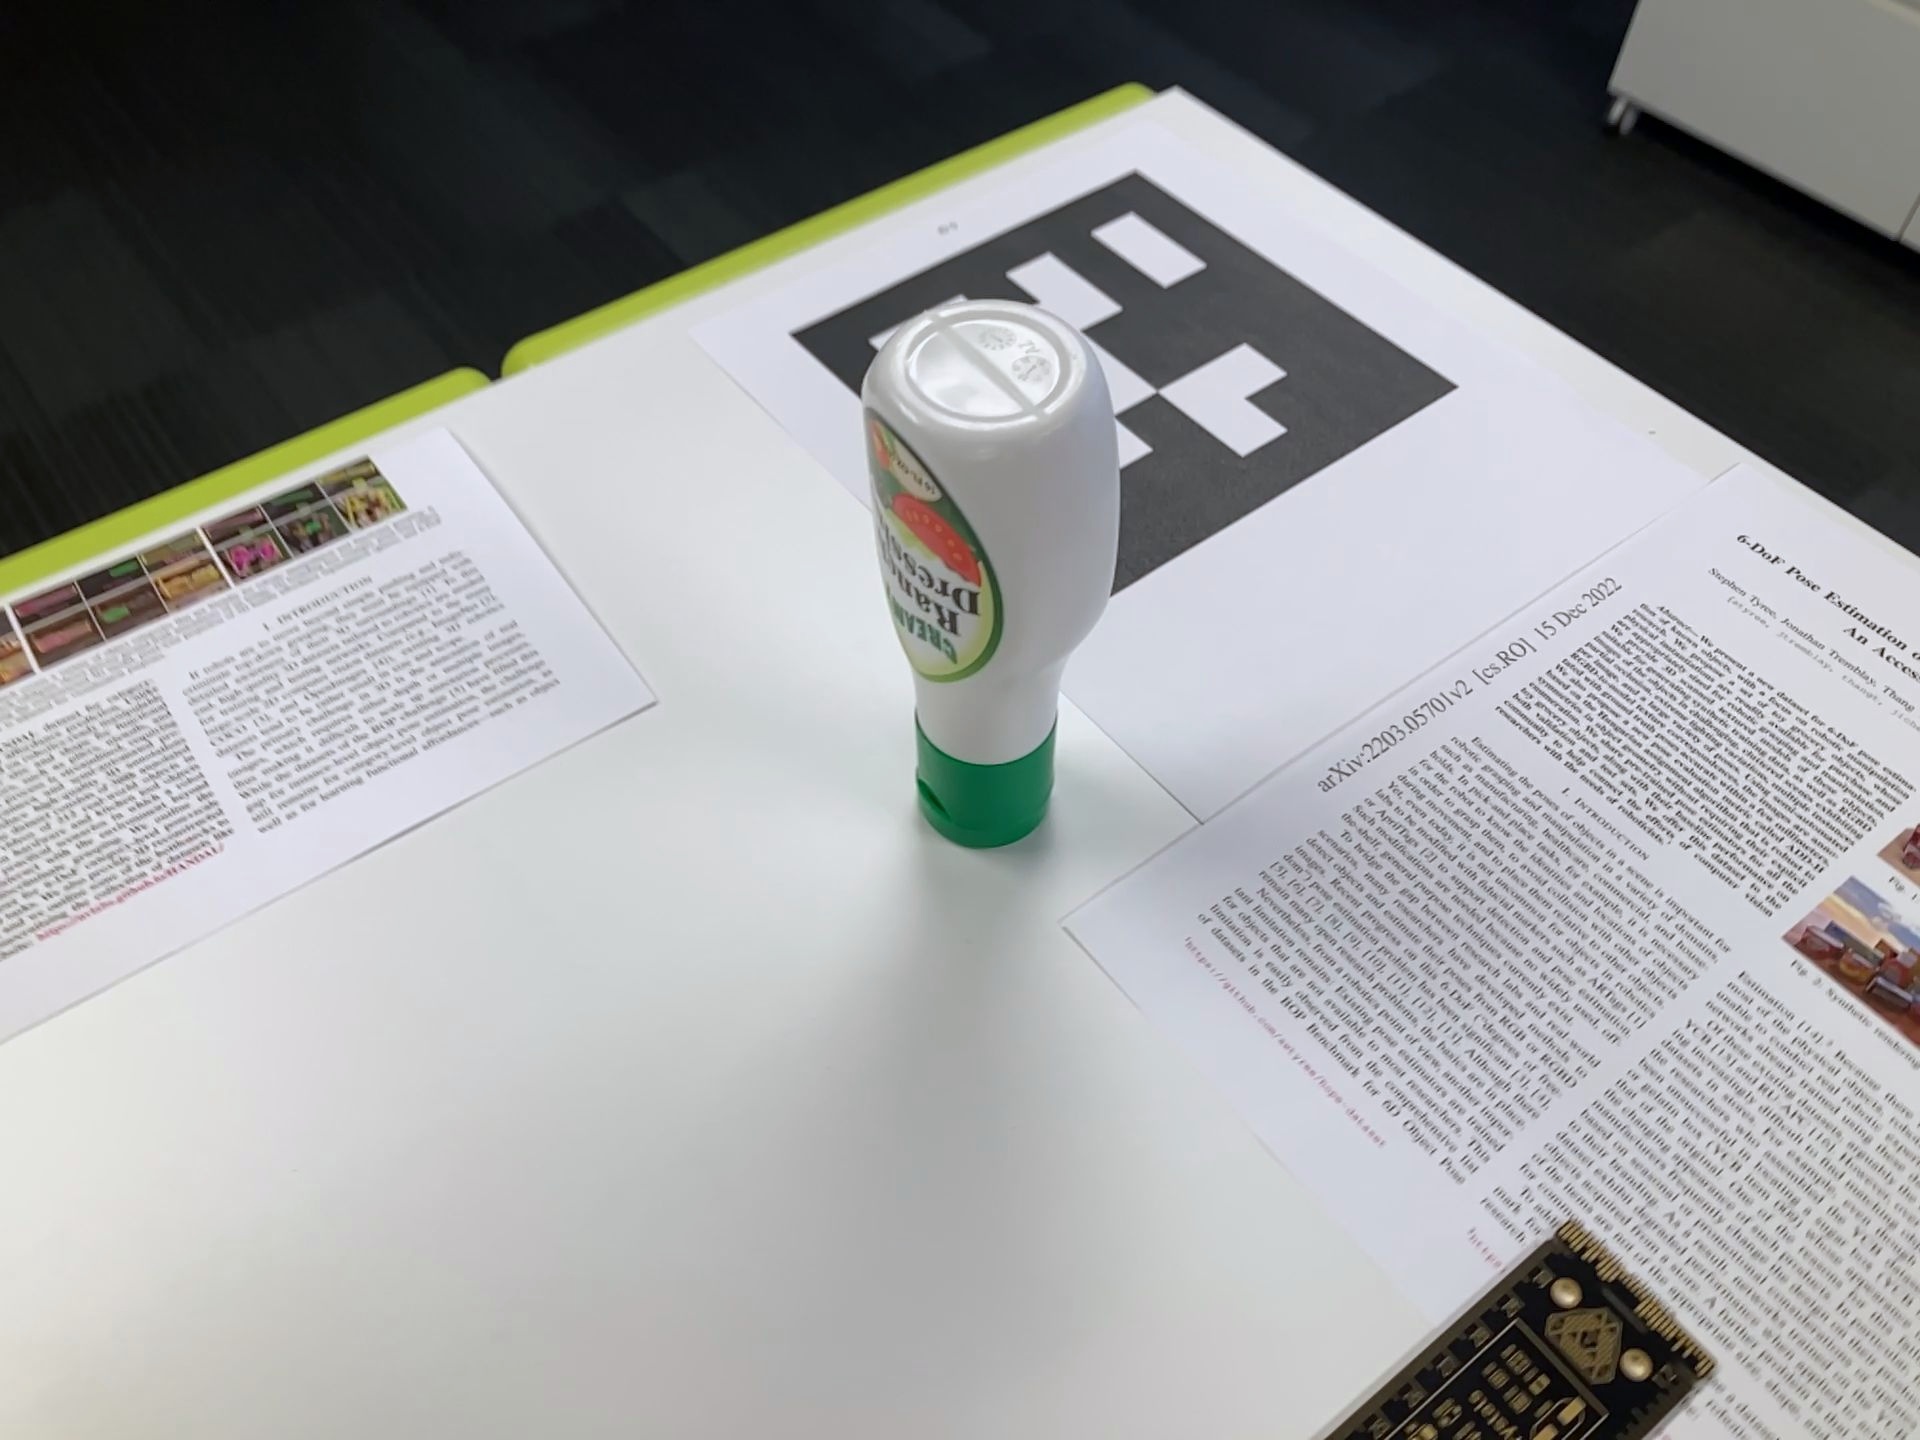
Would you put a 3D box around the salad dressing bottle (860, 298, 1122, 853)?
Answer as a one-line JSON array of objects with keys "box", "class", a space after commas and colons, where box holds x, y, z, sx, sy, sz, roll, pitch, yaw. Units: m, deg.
[{"box": [0.006, -0.024, 0.365, 0.044, 0.147, 0.064, -30, 57, -20], "class": "salad dressing bottle"}]
